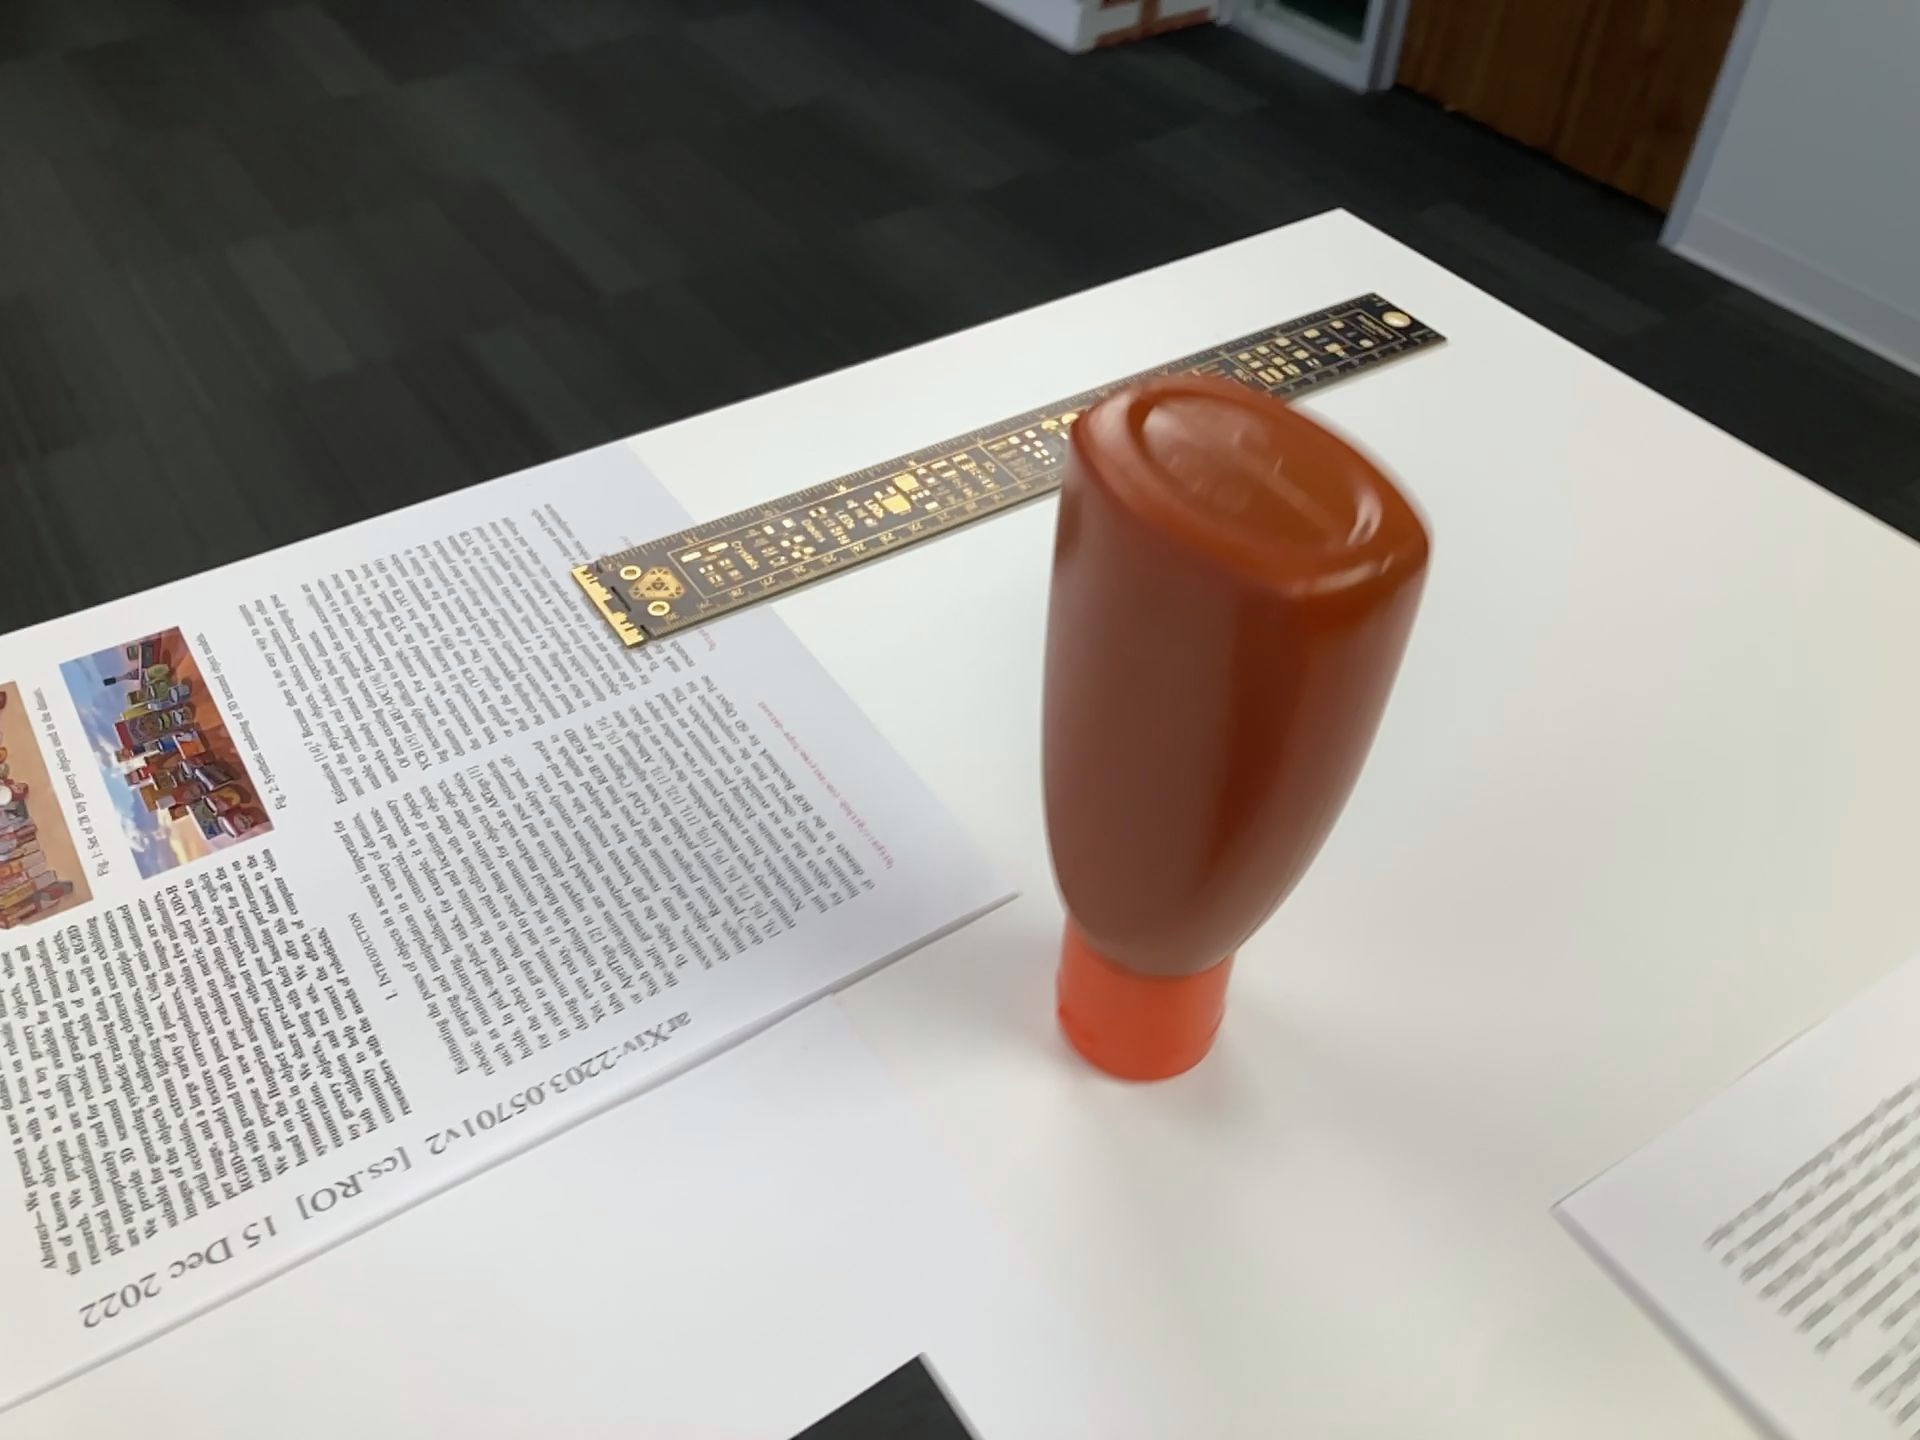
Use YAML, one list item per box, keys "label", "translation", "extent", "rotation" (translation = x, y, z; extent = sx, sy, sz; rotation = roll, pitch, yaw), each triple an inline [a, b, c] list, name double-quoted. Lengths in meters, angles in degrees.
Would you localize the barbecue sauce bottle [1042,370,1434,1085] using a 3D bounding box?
- label: "barbecue sauce bottle"
  translation: [0.042, 0.013, 0.300]
  extent: [0.043, 0.148, 0.065]
  rotation: [-25, 51, -27]
